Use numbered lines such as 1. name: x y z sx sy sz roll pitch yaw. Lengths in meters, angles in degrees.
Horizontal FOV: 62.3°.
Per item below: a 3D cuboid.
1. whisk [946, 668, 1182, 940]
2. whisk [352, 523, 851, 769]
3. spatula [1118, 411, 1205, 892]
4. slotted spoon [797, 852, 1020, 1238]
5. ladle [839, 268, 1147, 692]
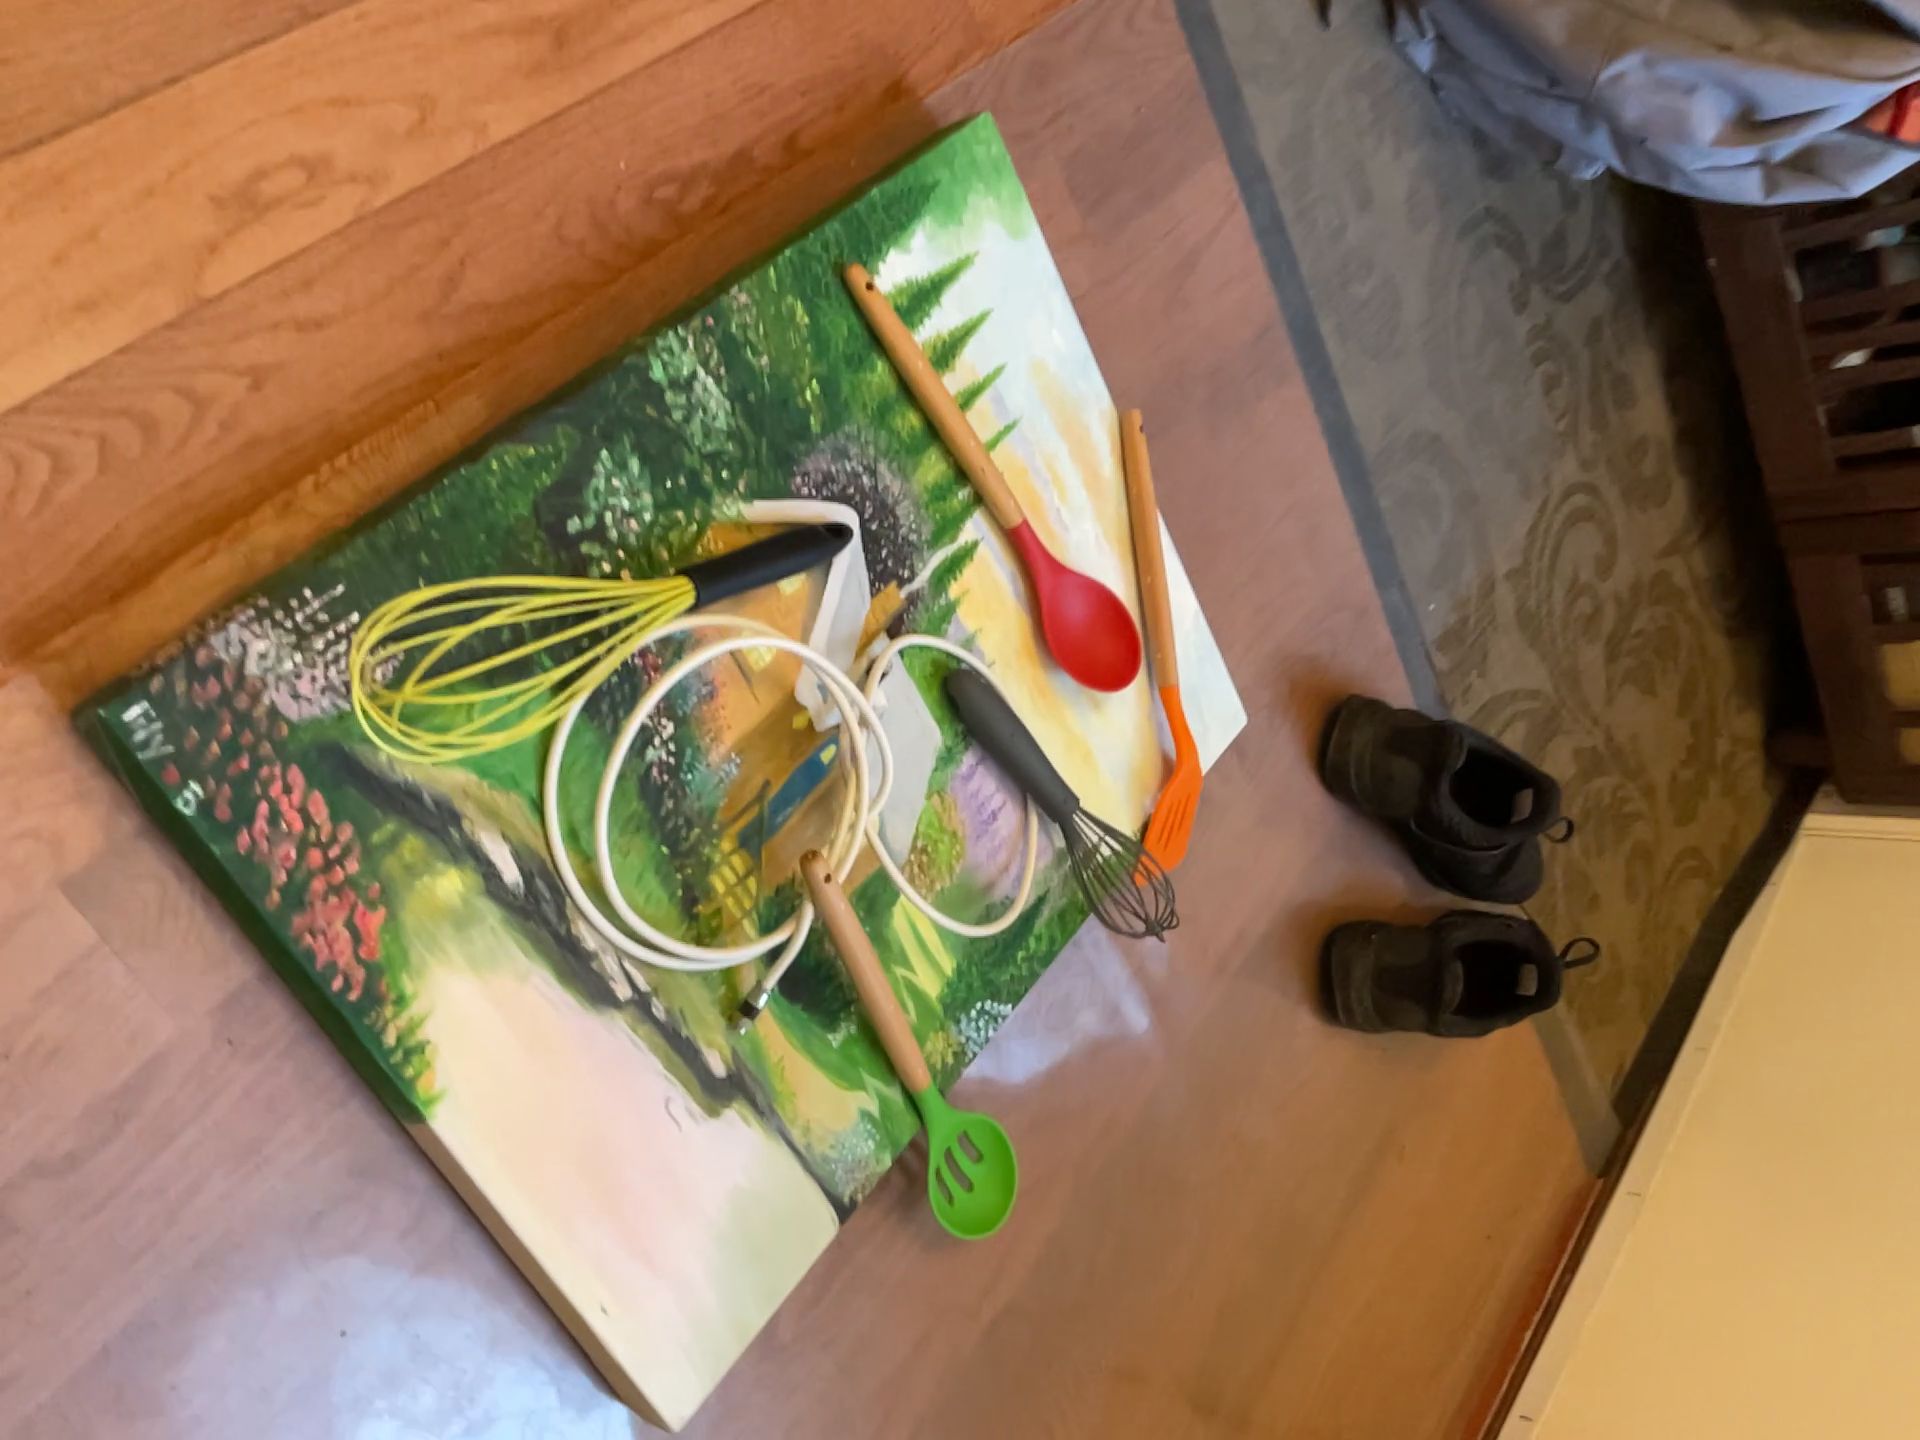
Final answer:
1. whisk: 0.065 0.056 0.989 0.238 0.055 0.055 50 48 -24
2. whisk: -0.159 -0.053 0.774 0.311 0.067 0.080 -28 115 -46
3. spatula: 0.129 -0.045 1.075 0.081 0.041 0.322 -18 101 -53
4. slotted spoon: -0.030 0.189 0.904 0.070 0.031 0.313 -48 133 -32
5. ladle: 0.021 -0.138 0.959 0.315 0.031 0.069 53 56 -27
